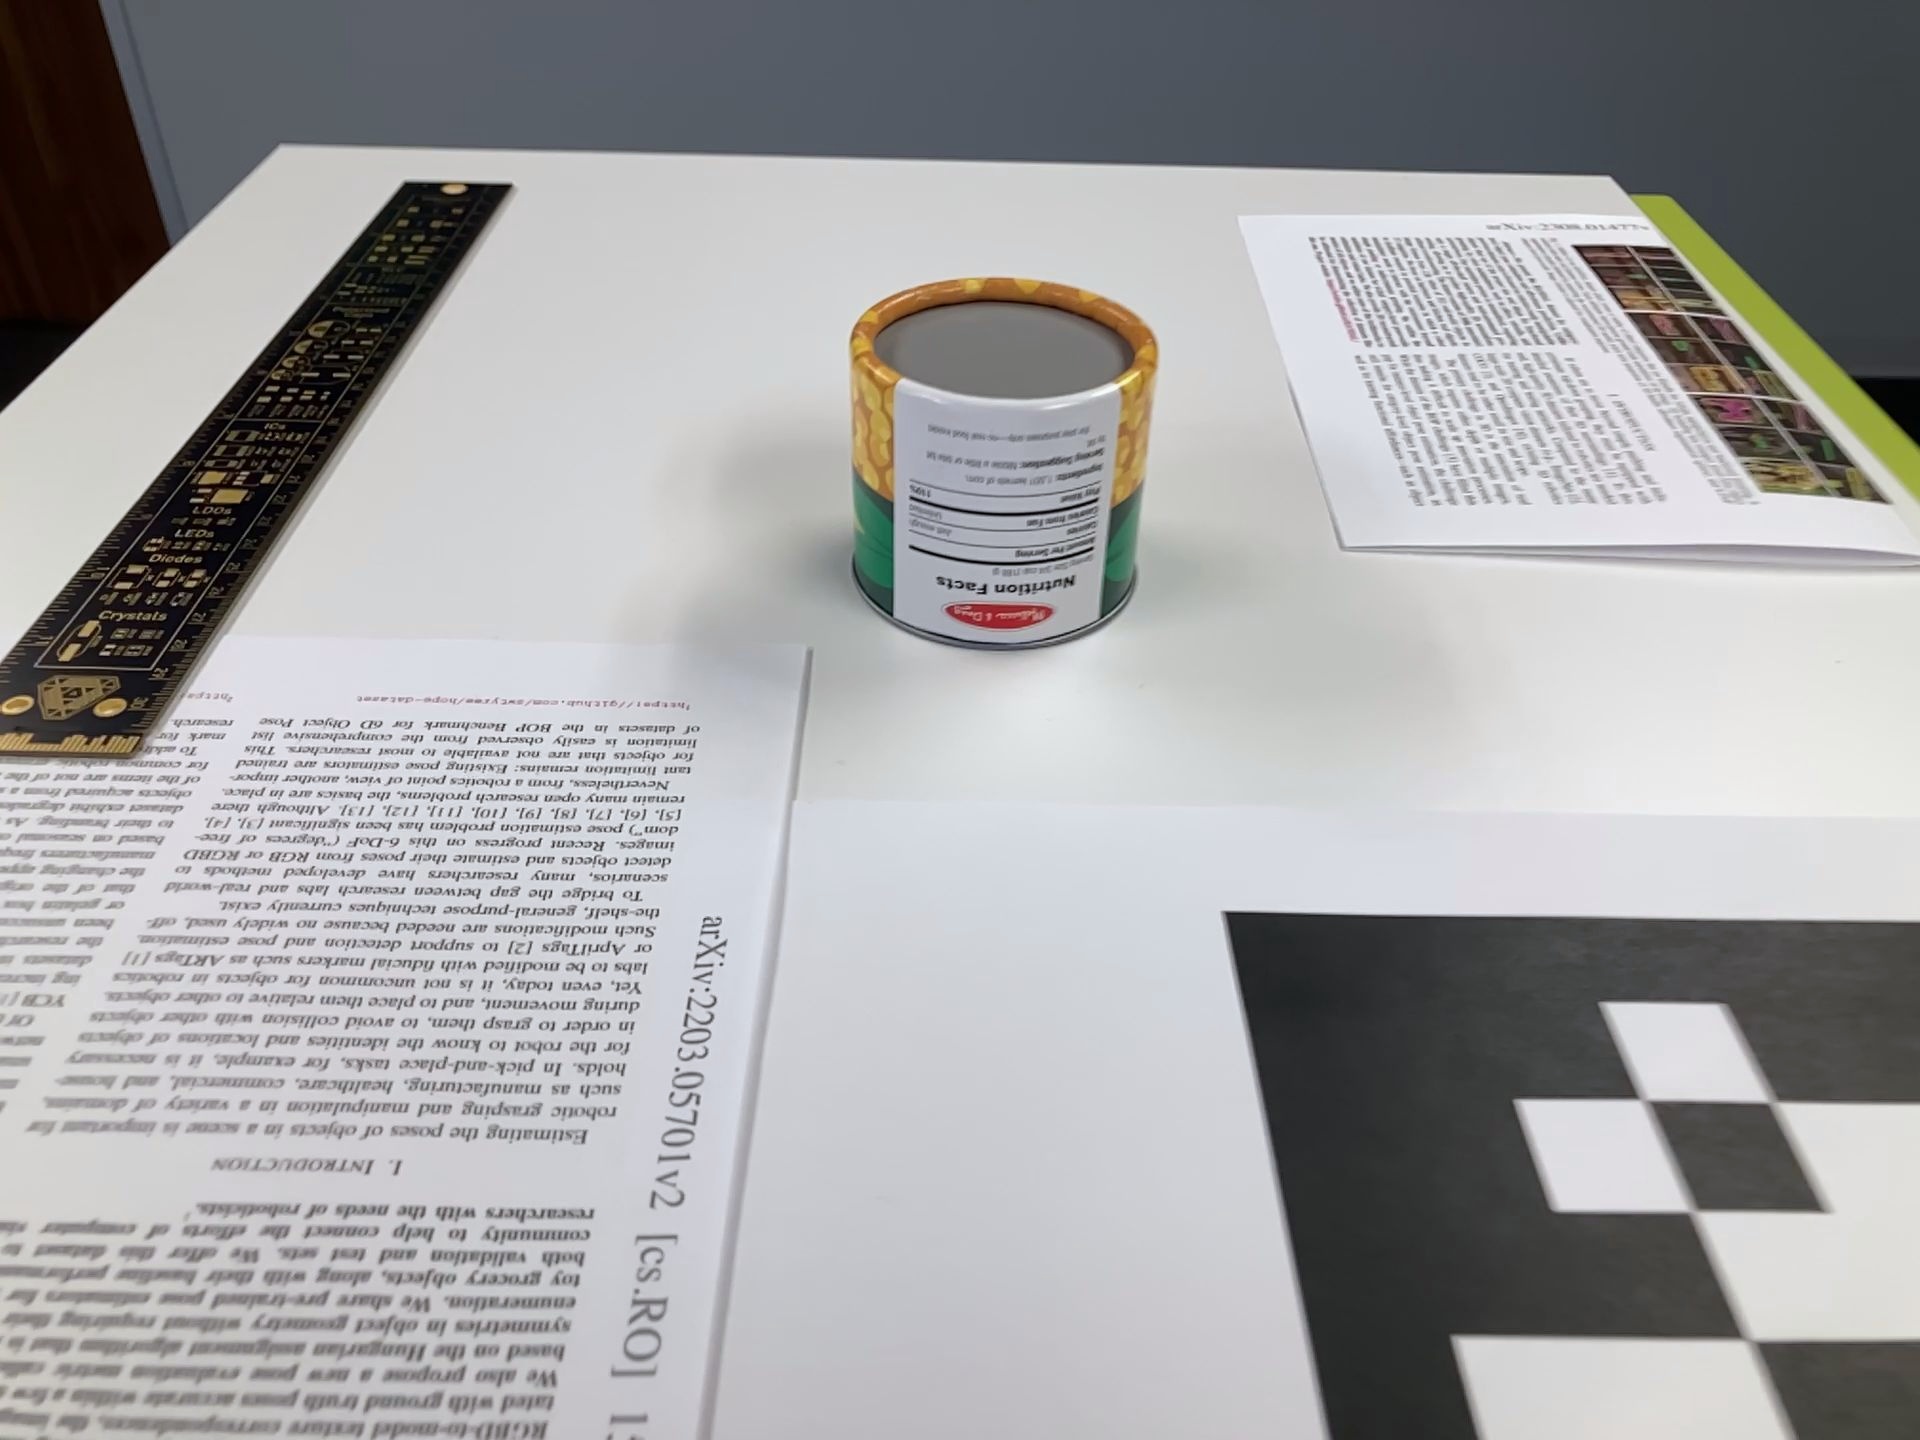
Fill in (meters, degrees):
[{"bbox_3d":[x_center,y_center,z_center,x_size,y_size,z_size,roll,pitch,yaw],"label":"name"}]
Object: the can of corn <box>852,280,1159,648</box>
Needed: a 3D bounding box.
[{"bbox_3d":[0.009,-0.060,0.355,0.071,0.058,0.071,1,37,-1],"label":"can of corn"}]
